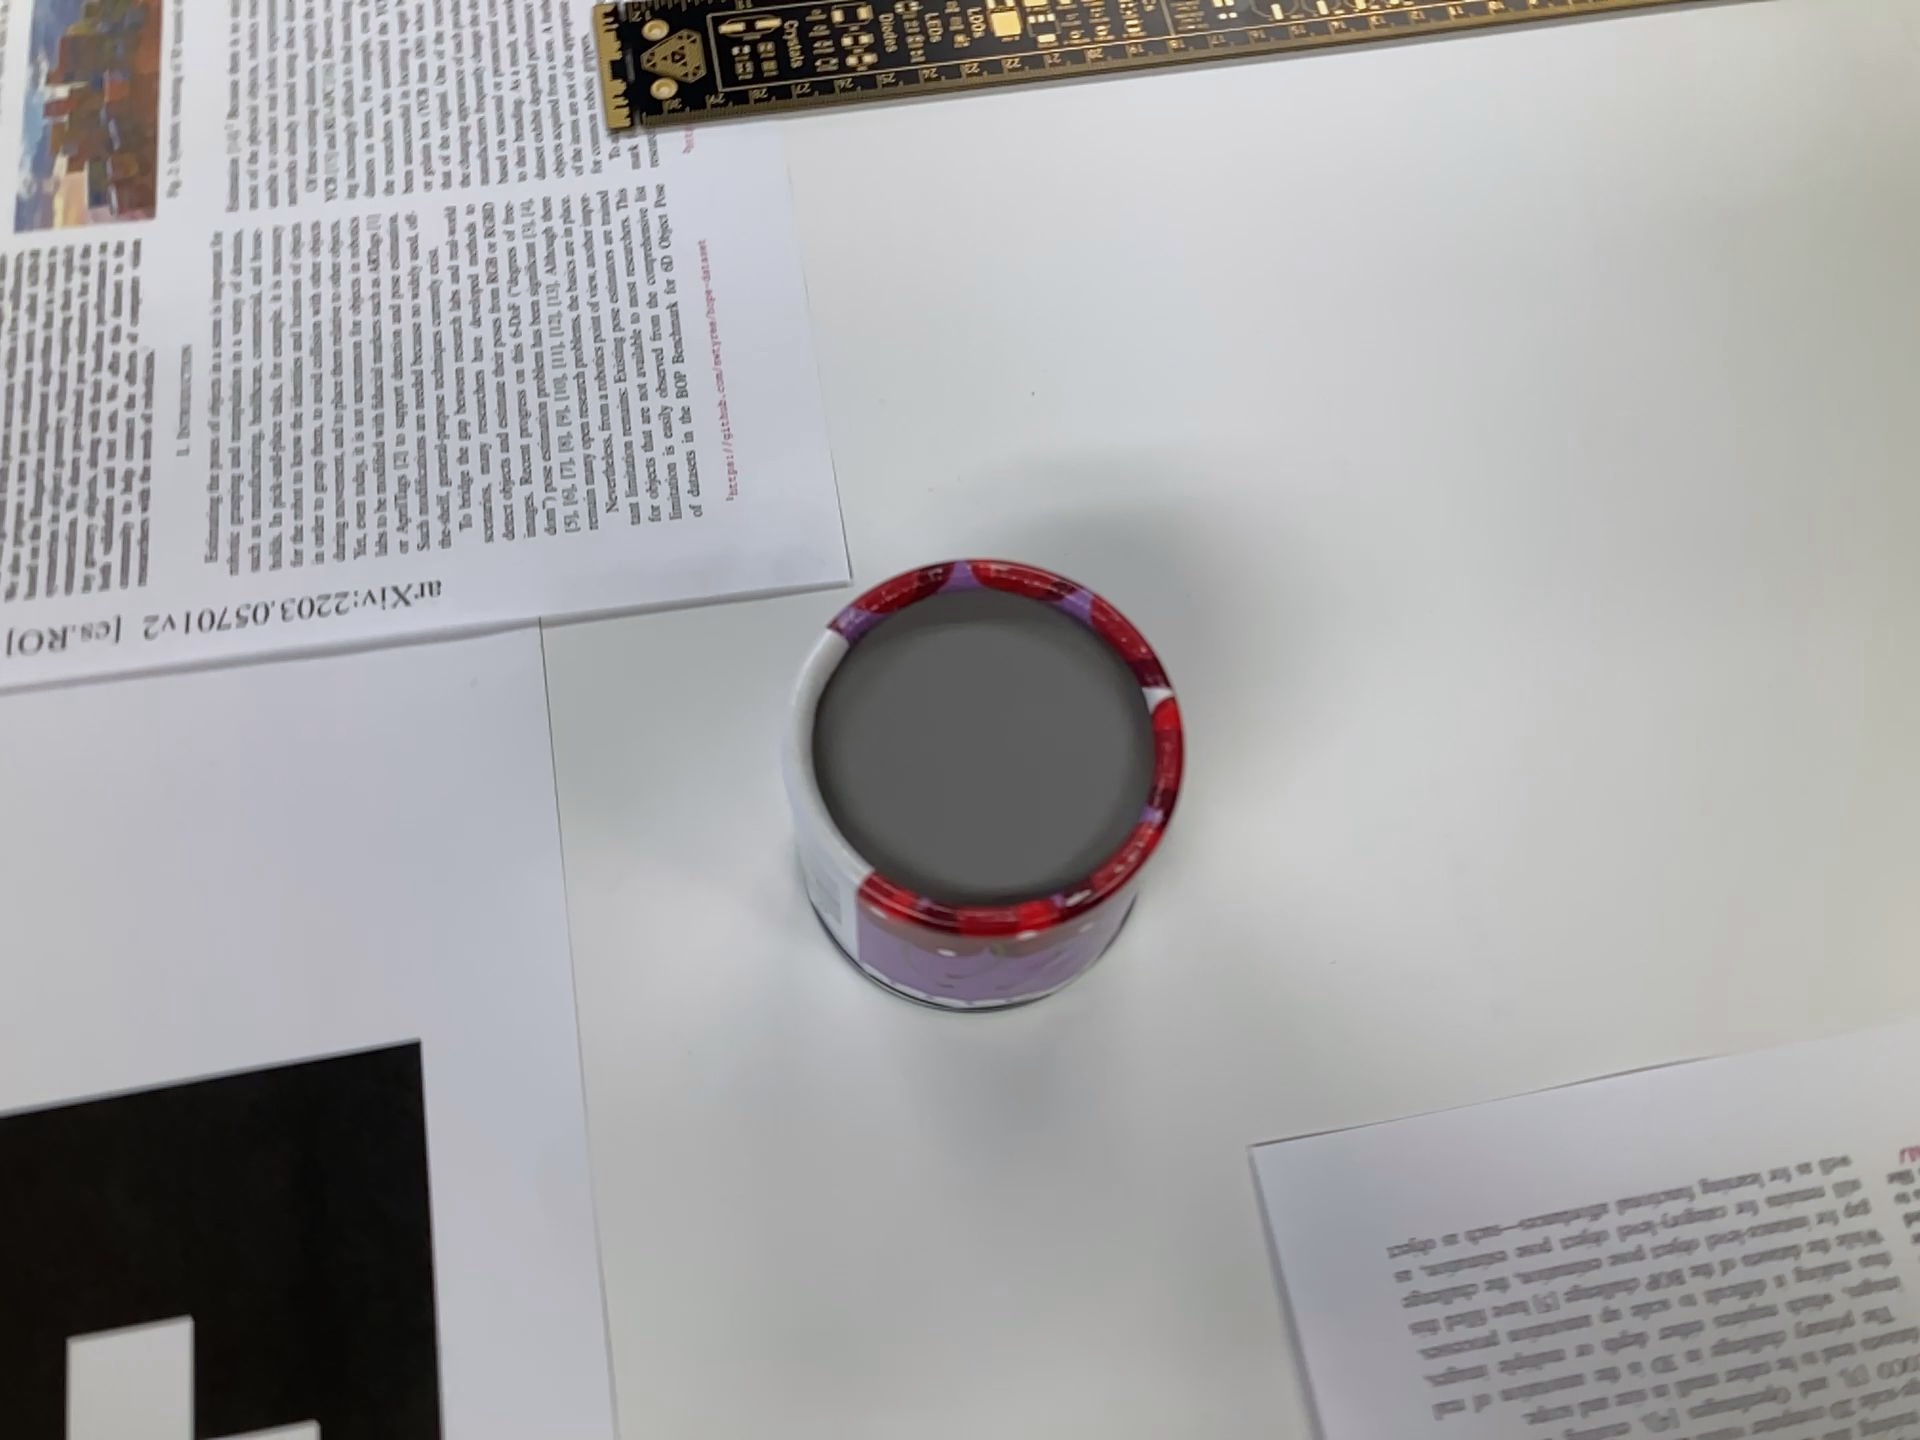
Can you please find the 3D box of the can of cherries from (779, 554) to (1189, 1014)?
[{"bbox_3d":[0.005,0.012,0.277,0.071,0.058,0.071,1,67,-2],"label":"can of cherries"}]
